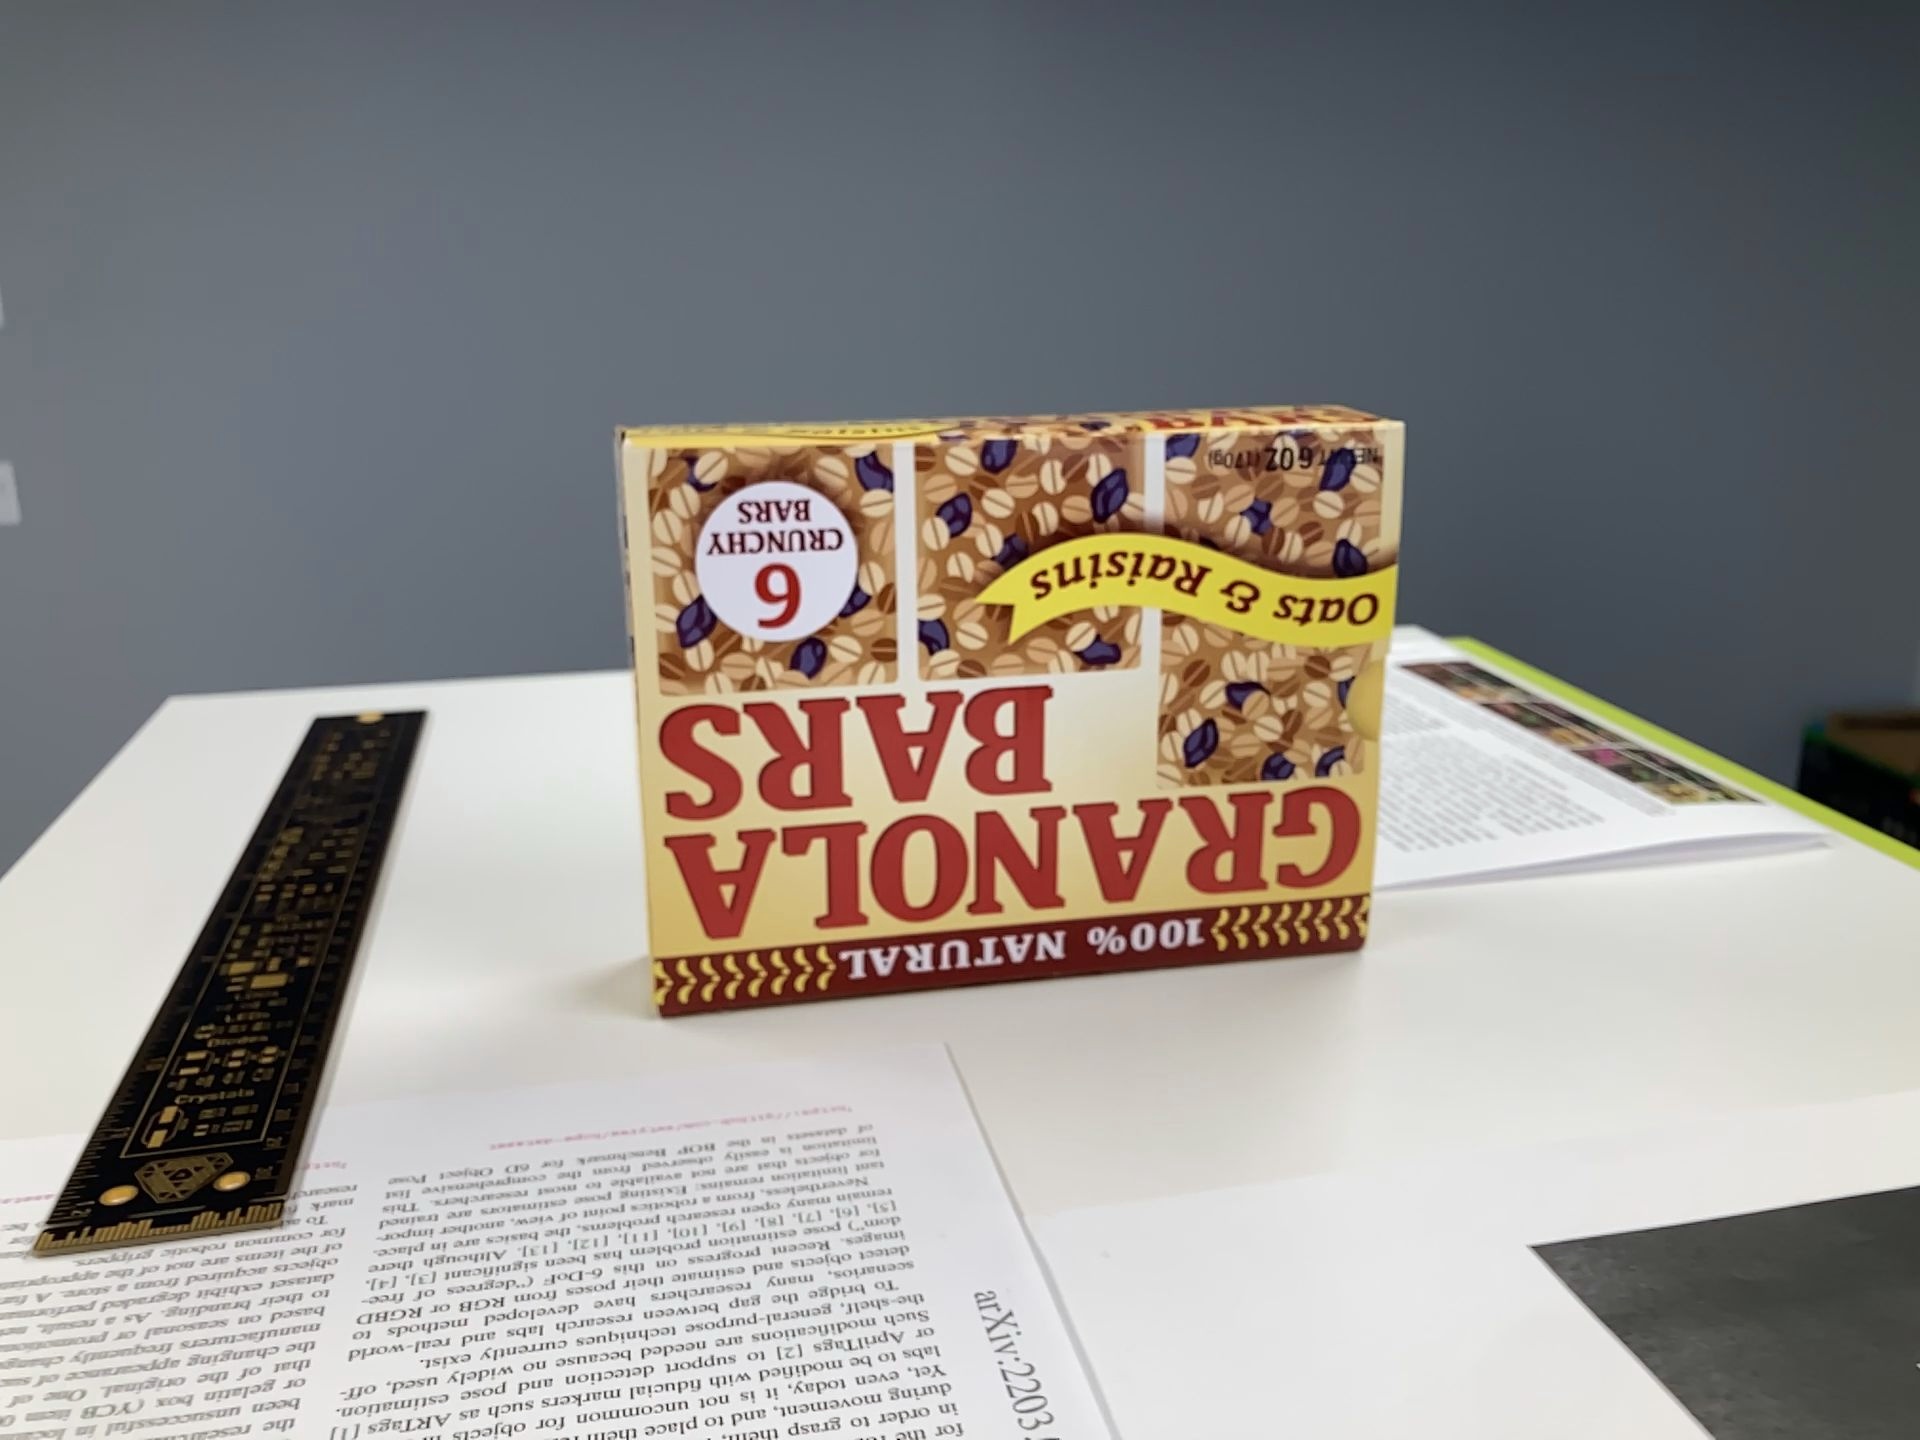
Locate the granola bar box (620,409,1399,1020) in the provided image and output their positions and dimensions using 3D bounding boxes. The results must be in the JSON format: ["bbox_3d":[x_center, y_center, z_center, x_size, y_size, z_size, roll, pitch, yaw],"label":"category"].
[{"bbox_3d":[0.012,-0.004,0.360,0.165,0.124,0.039,-4,17,-11],"label":"granola bar box"}]
